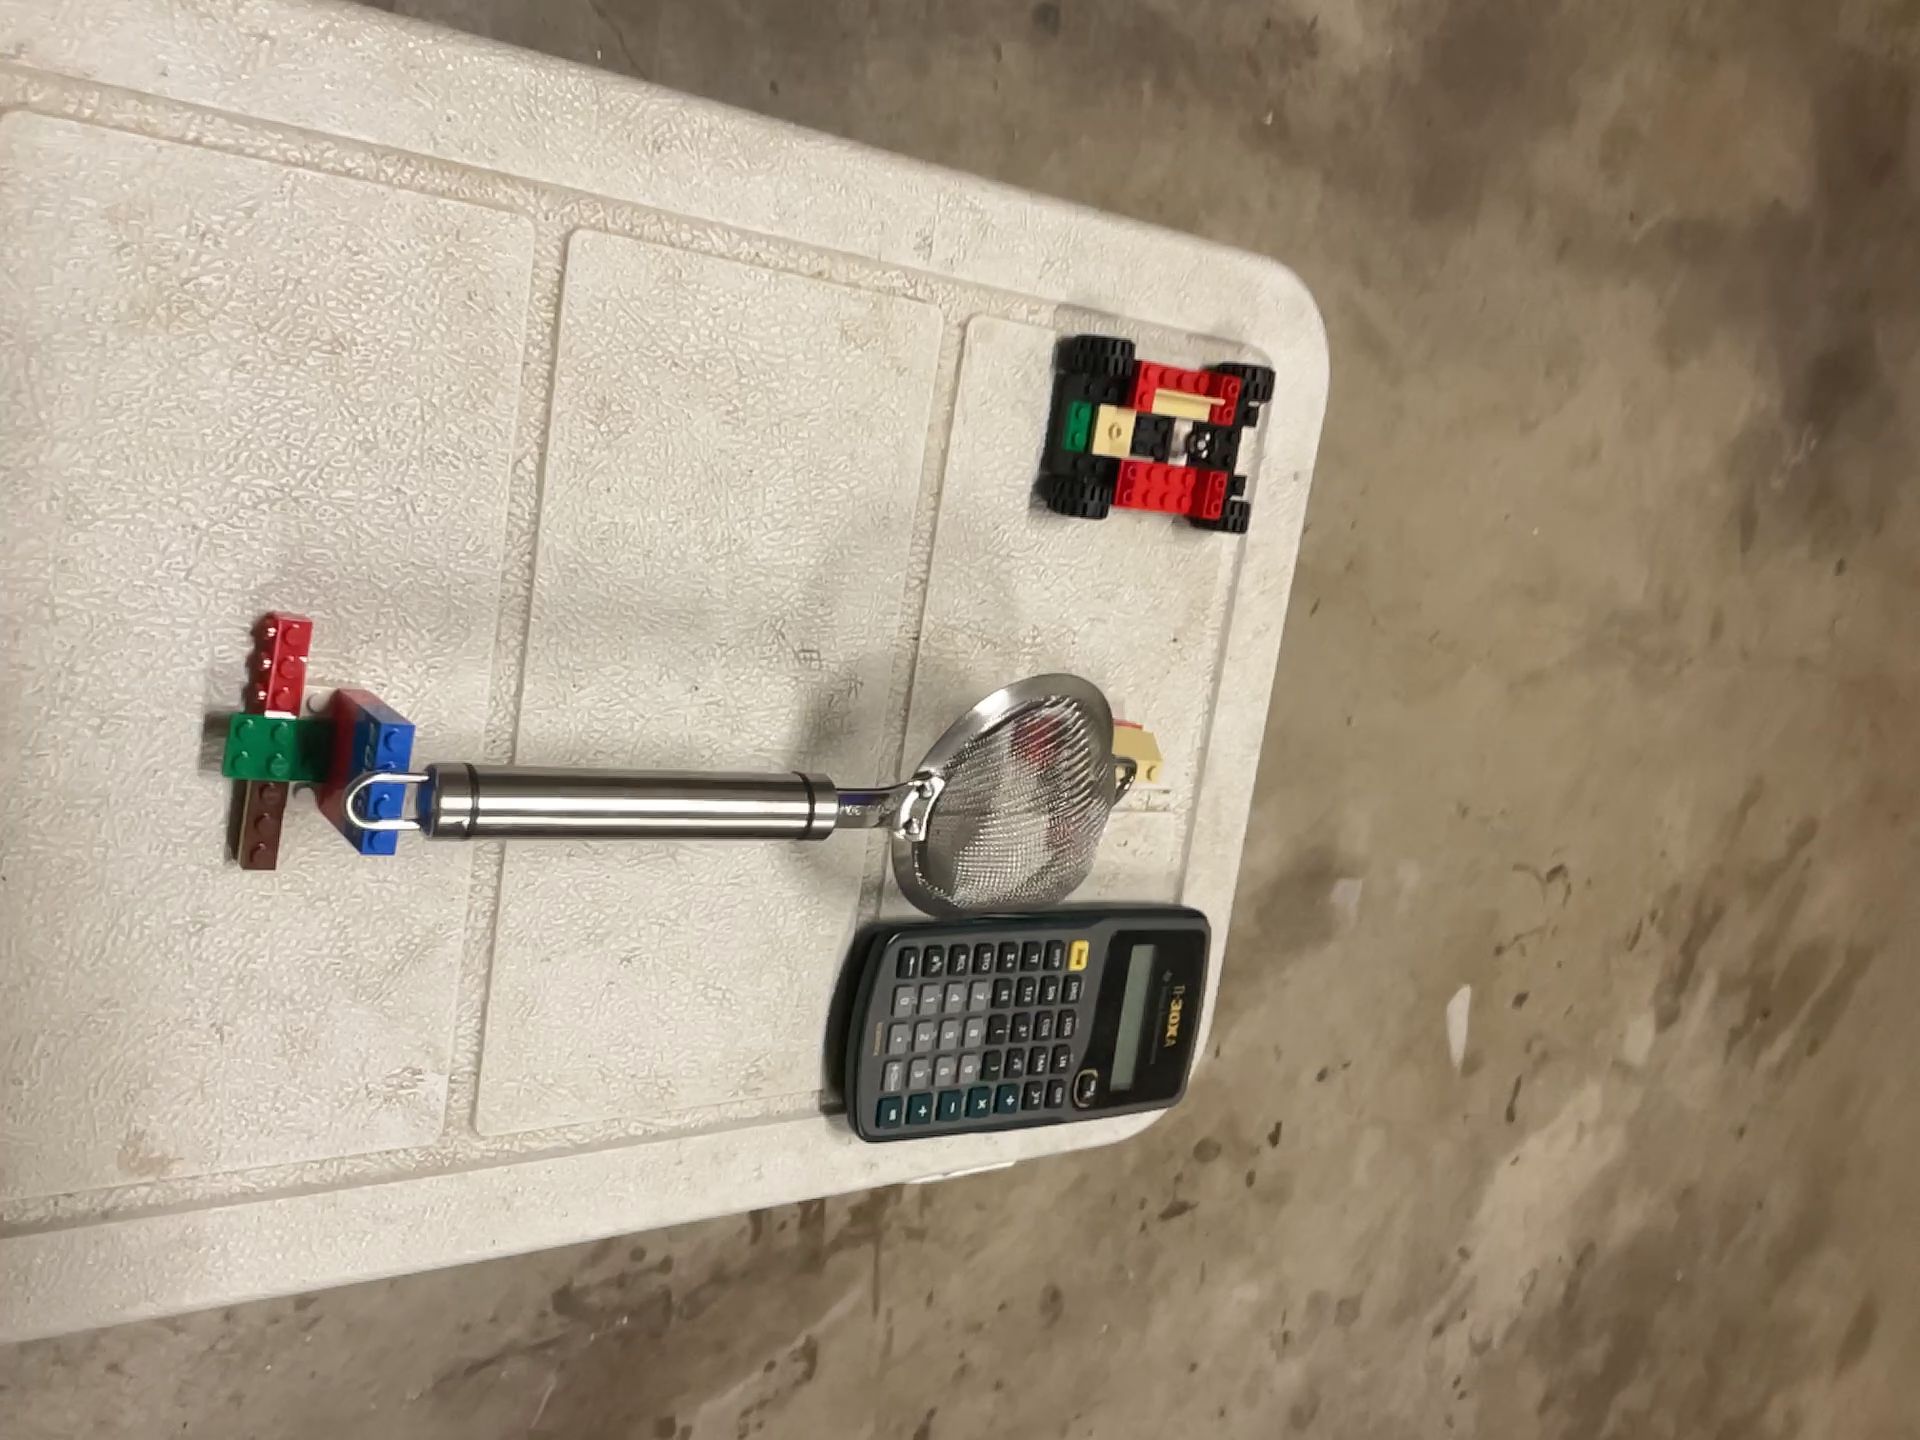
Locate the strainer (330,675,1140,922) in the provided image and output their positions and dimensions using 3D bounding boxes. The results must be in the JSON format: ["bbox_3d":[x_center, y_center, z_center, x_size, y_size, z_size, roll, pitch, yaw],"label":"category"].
[{"bbox_3d":[-0.037,0.026,0.437,0.258,0.050,0.086,3,117,-35],"label":"strainer"}]
